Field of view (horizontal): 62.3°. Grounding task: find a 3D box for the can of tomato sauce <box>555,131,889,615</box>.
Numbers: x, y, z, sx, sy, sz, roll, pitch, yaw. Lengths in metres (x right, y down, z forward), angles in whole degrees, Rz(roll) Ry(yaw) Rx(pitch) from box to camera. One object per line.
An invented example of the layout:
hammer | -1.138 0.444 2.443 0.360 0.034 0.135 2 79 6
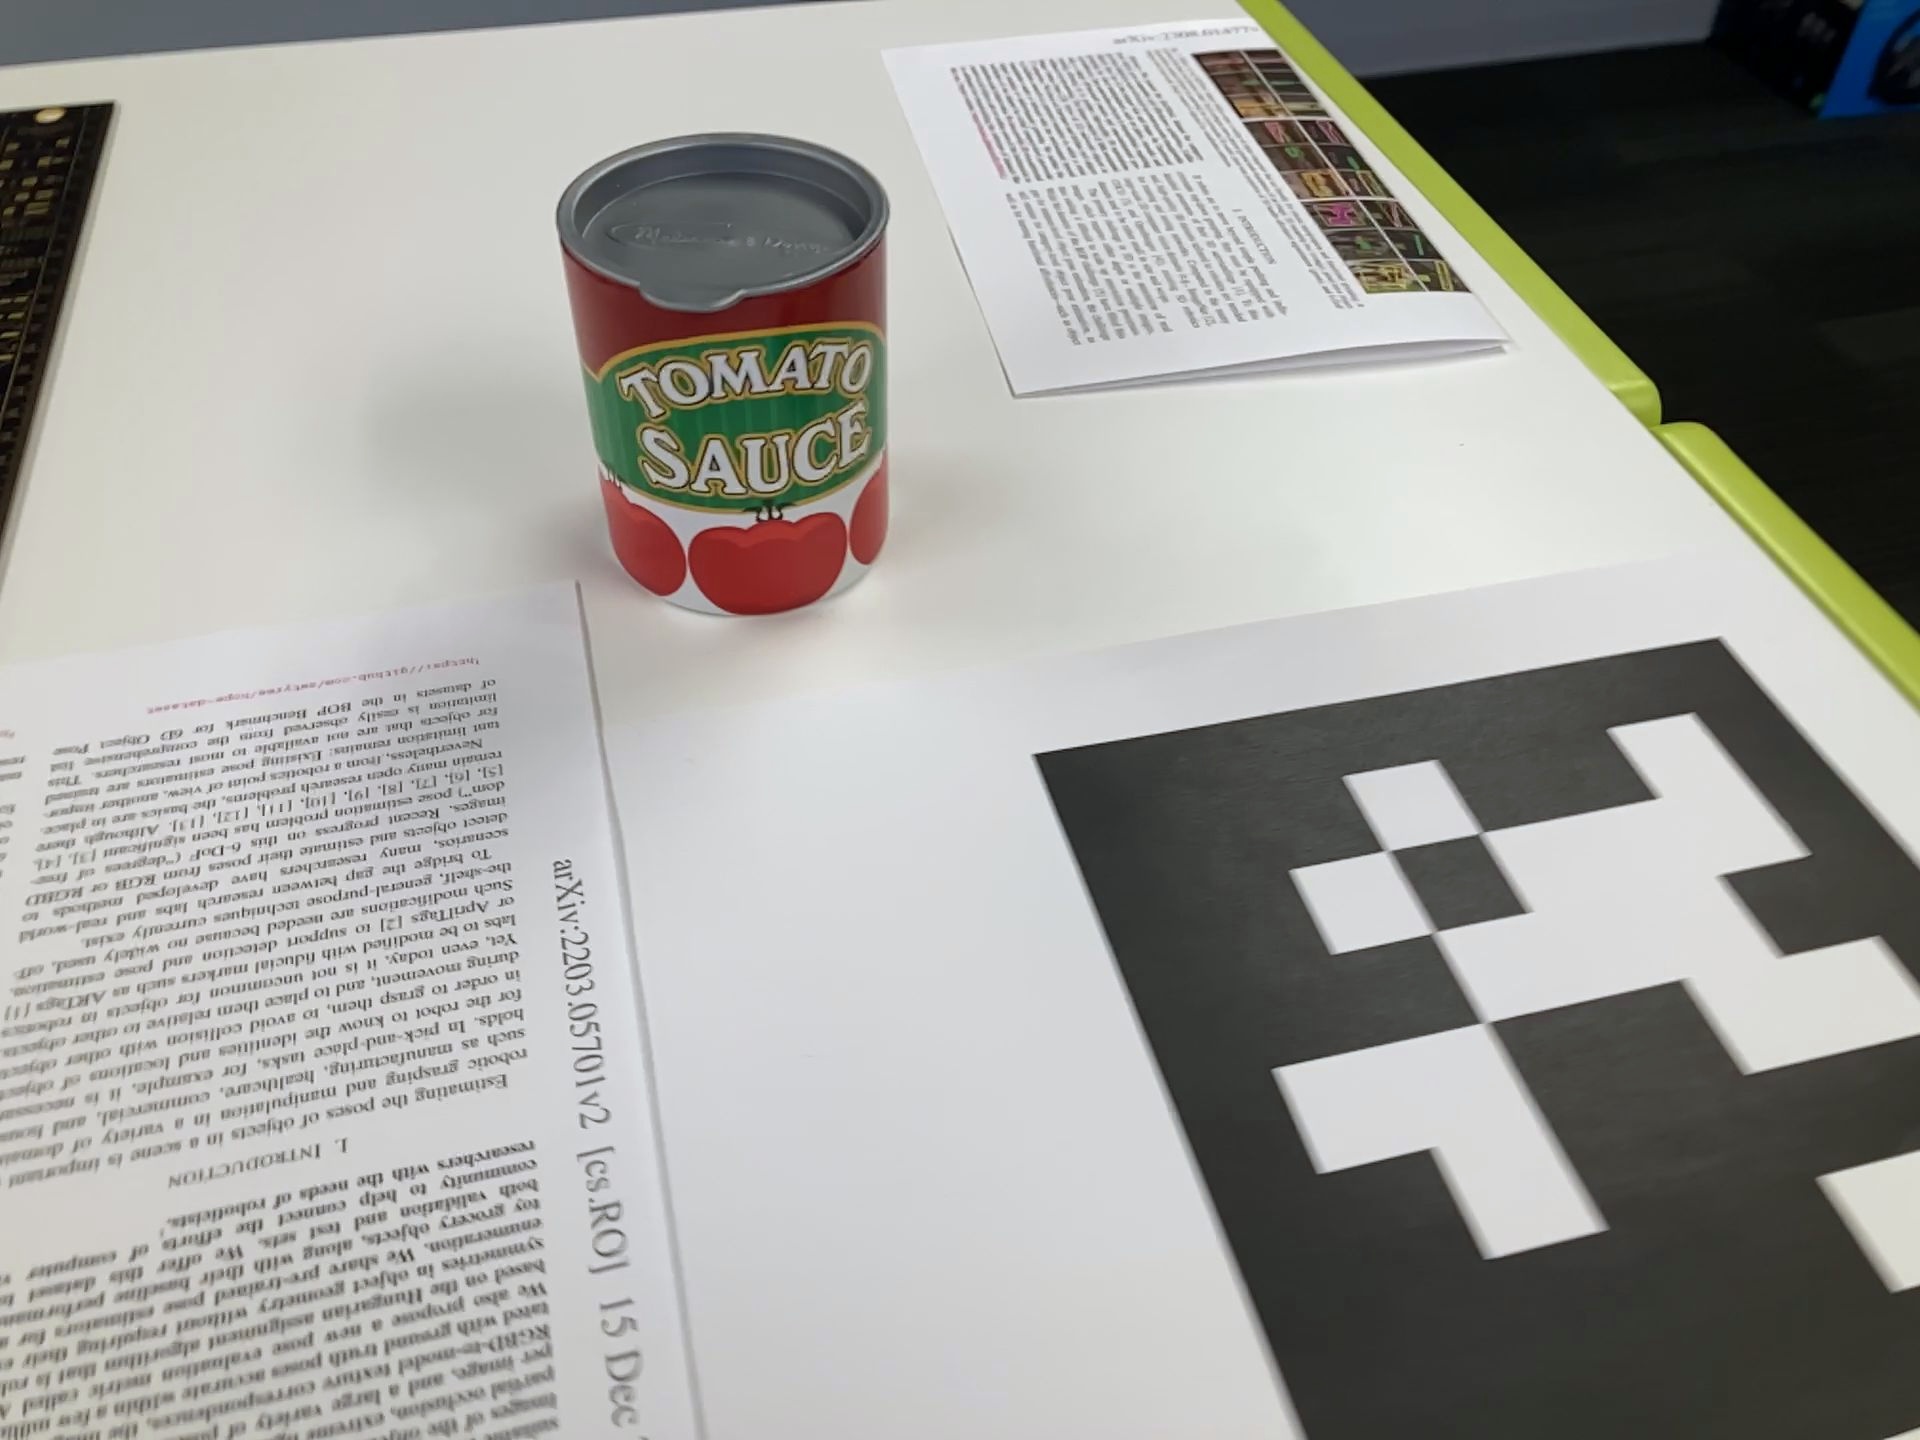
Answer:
can of tomato sauce | -0.048 -0.073 0.347 0.071 0.083 0.071 1 45 -1
